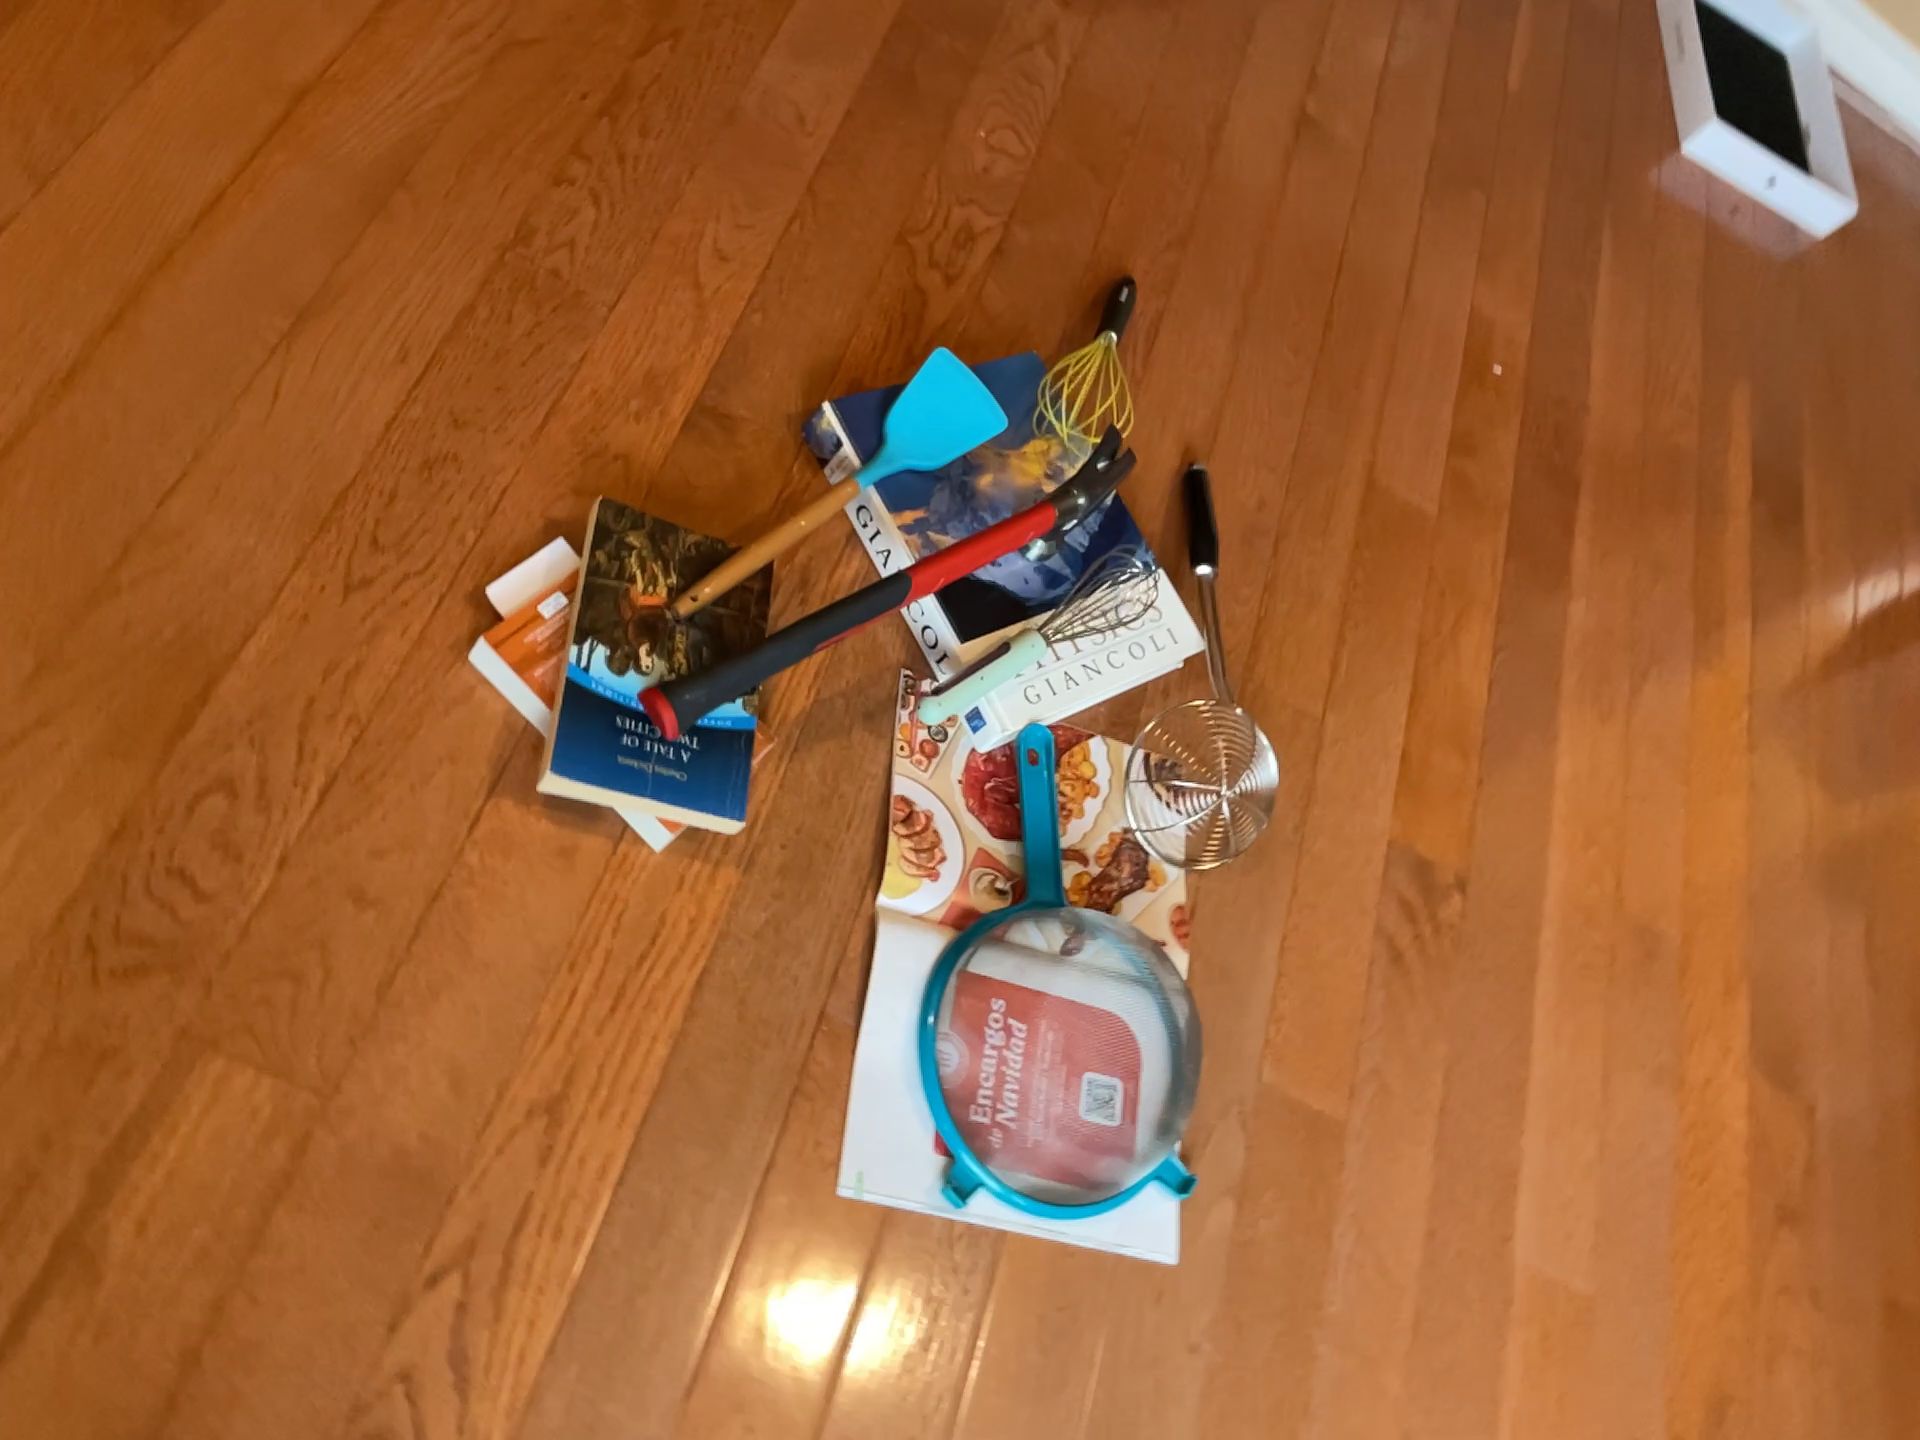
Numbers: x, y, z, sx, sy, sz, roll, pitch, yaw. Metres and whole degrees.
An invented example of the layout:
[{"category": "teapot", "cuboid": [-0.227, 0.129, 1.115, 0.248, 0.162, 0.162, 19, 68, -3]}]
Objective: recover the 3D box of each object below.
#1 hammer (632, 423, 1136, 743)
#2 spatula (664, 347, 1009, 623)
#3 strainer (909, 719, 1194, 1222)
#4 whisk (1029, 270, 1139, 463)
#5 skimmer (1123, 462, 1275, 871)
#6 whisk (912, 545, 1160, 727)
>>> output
[{"category": "hammer", "cuboid": [-0.043, -0.088, 1.053, 0.387, 0.143, 0.038, -30, 81, -34]}, {"category": "spatula", "cuboid": [-0.089, -0.156, 1.107, 0.082, 0.044, 0.318, 49, 53, -3]}, {"category": "strainer", "cuboid": [0.077, 0.154, 1.058, 0.211, 0.095, 0.341, 7, 71, -27]}, {"category": "whisk", "cuboid": [0.116, -0.302, 1.314, 0.080, 0.067, 0.312, 23, 42, -2]}, {"category": "skimmer", "cuboid": [0.183, -0.055, 1.274, 0.127, 0.090, 0.364, 17, 49, -20]}, {"category": "whisk", "cuboid": [0.058, -0.059, 1.151, 0.247, 0.057, 0.059, -33, 117, -32]}]
